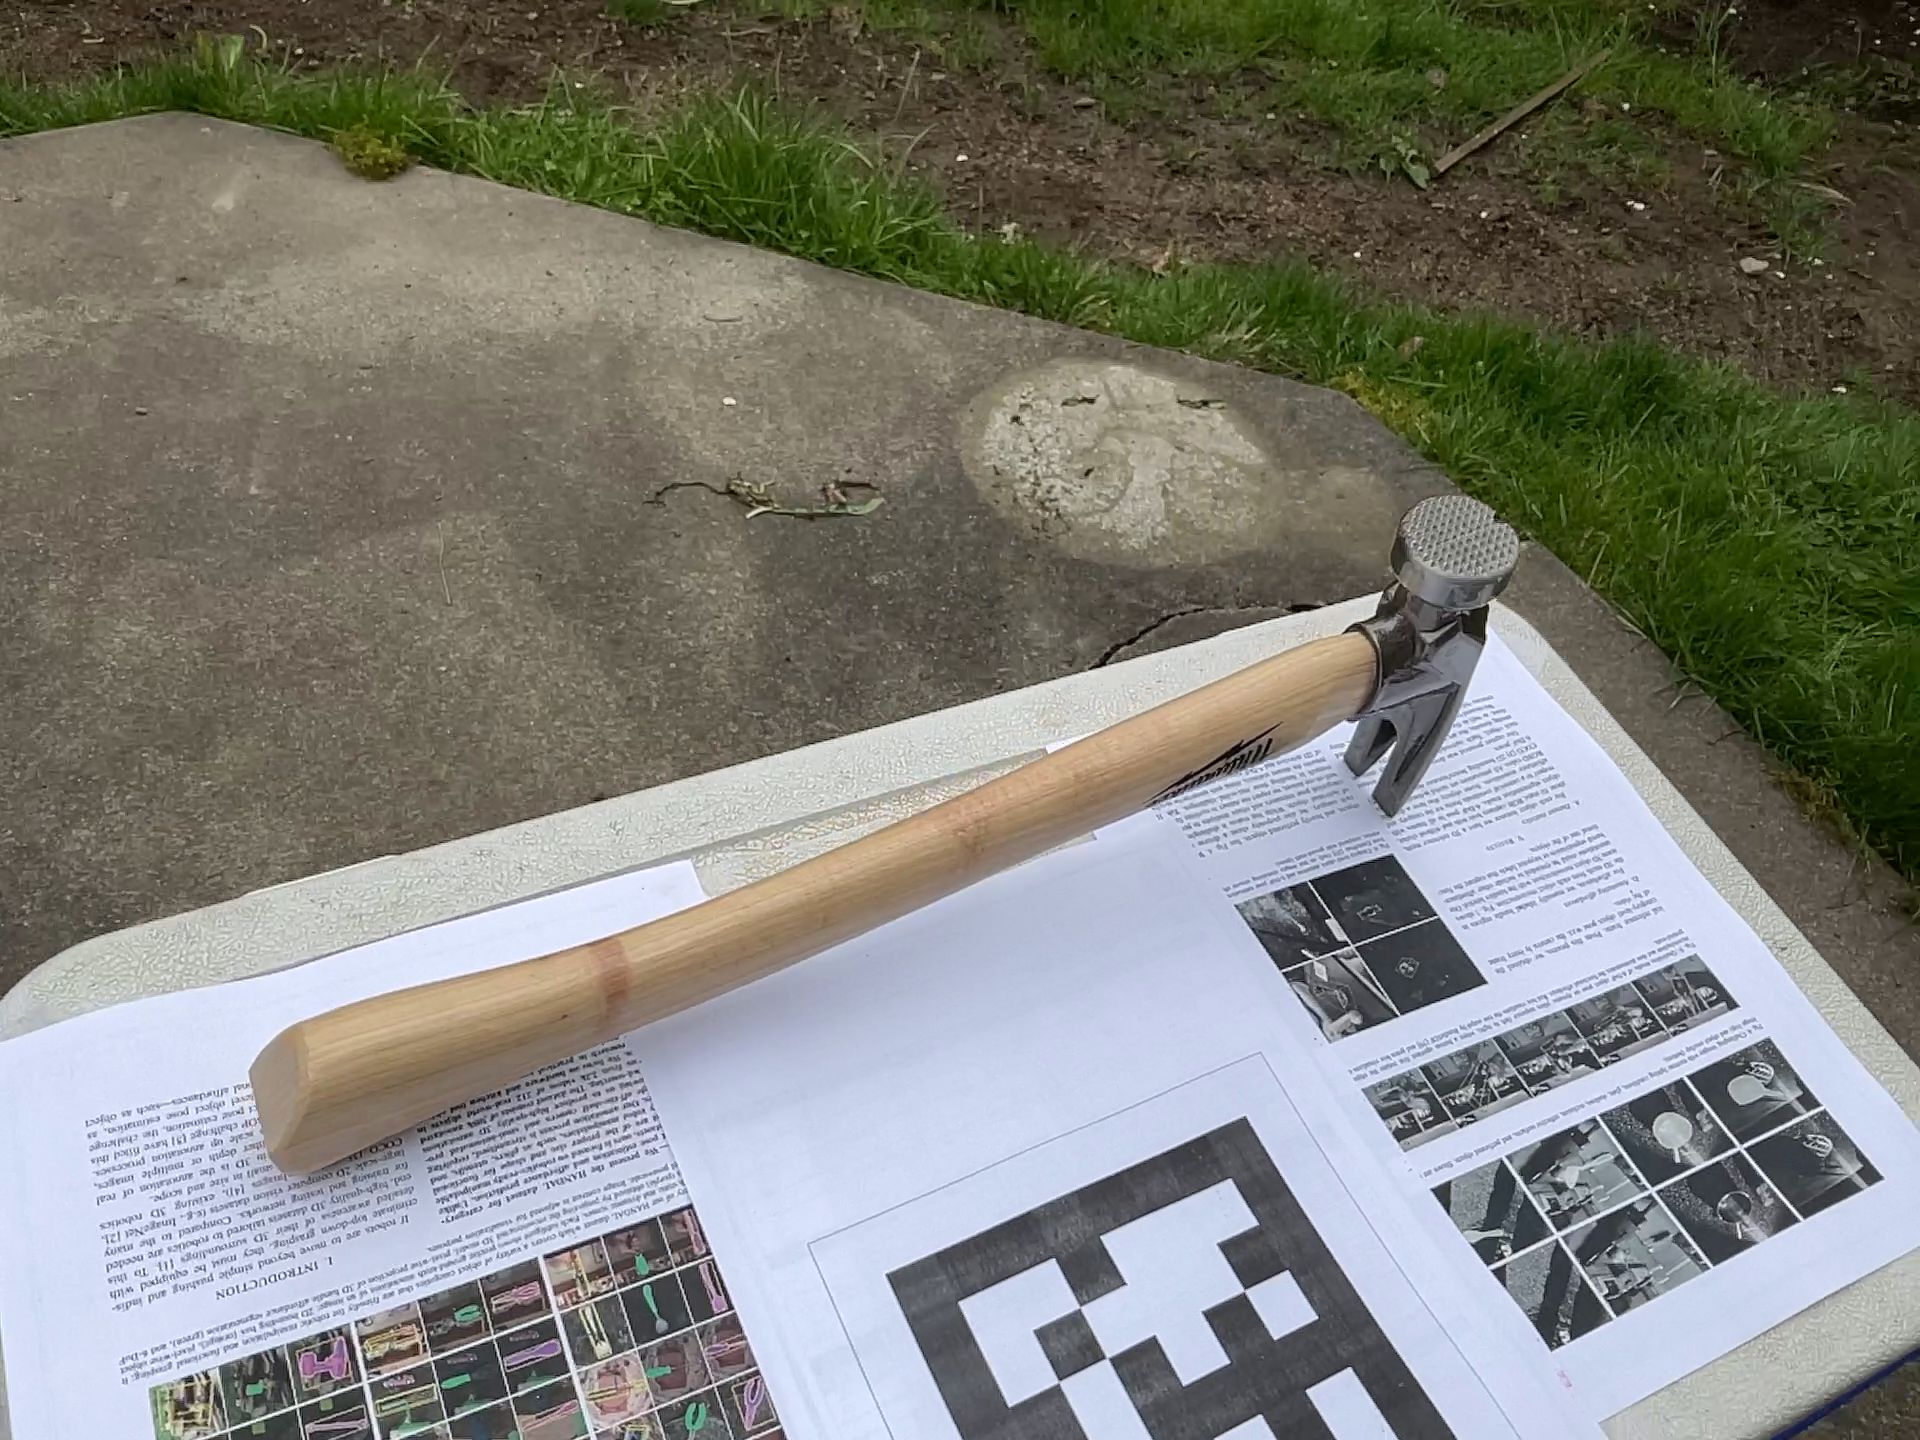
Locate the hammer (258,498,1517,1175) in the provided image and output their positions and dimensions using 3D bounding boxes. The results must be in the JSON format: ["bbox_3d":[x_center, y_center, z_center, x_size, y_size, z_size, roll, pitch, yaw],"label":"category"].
[{"bbox_3d":[-0.010,0.050,0.517,0.410,0.146,0.038,-21,57,-15],"label":"hammer"}]
